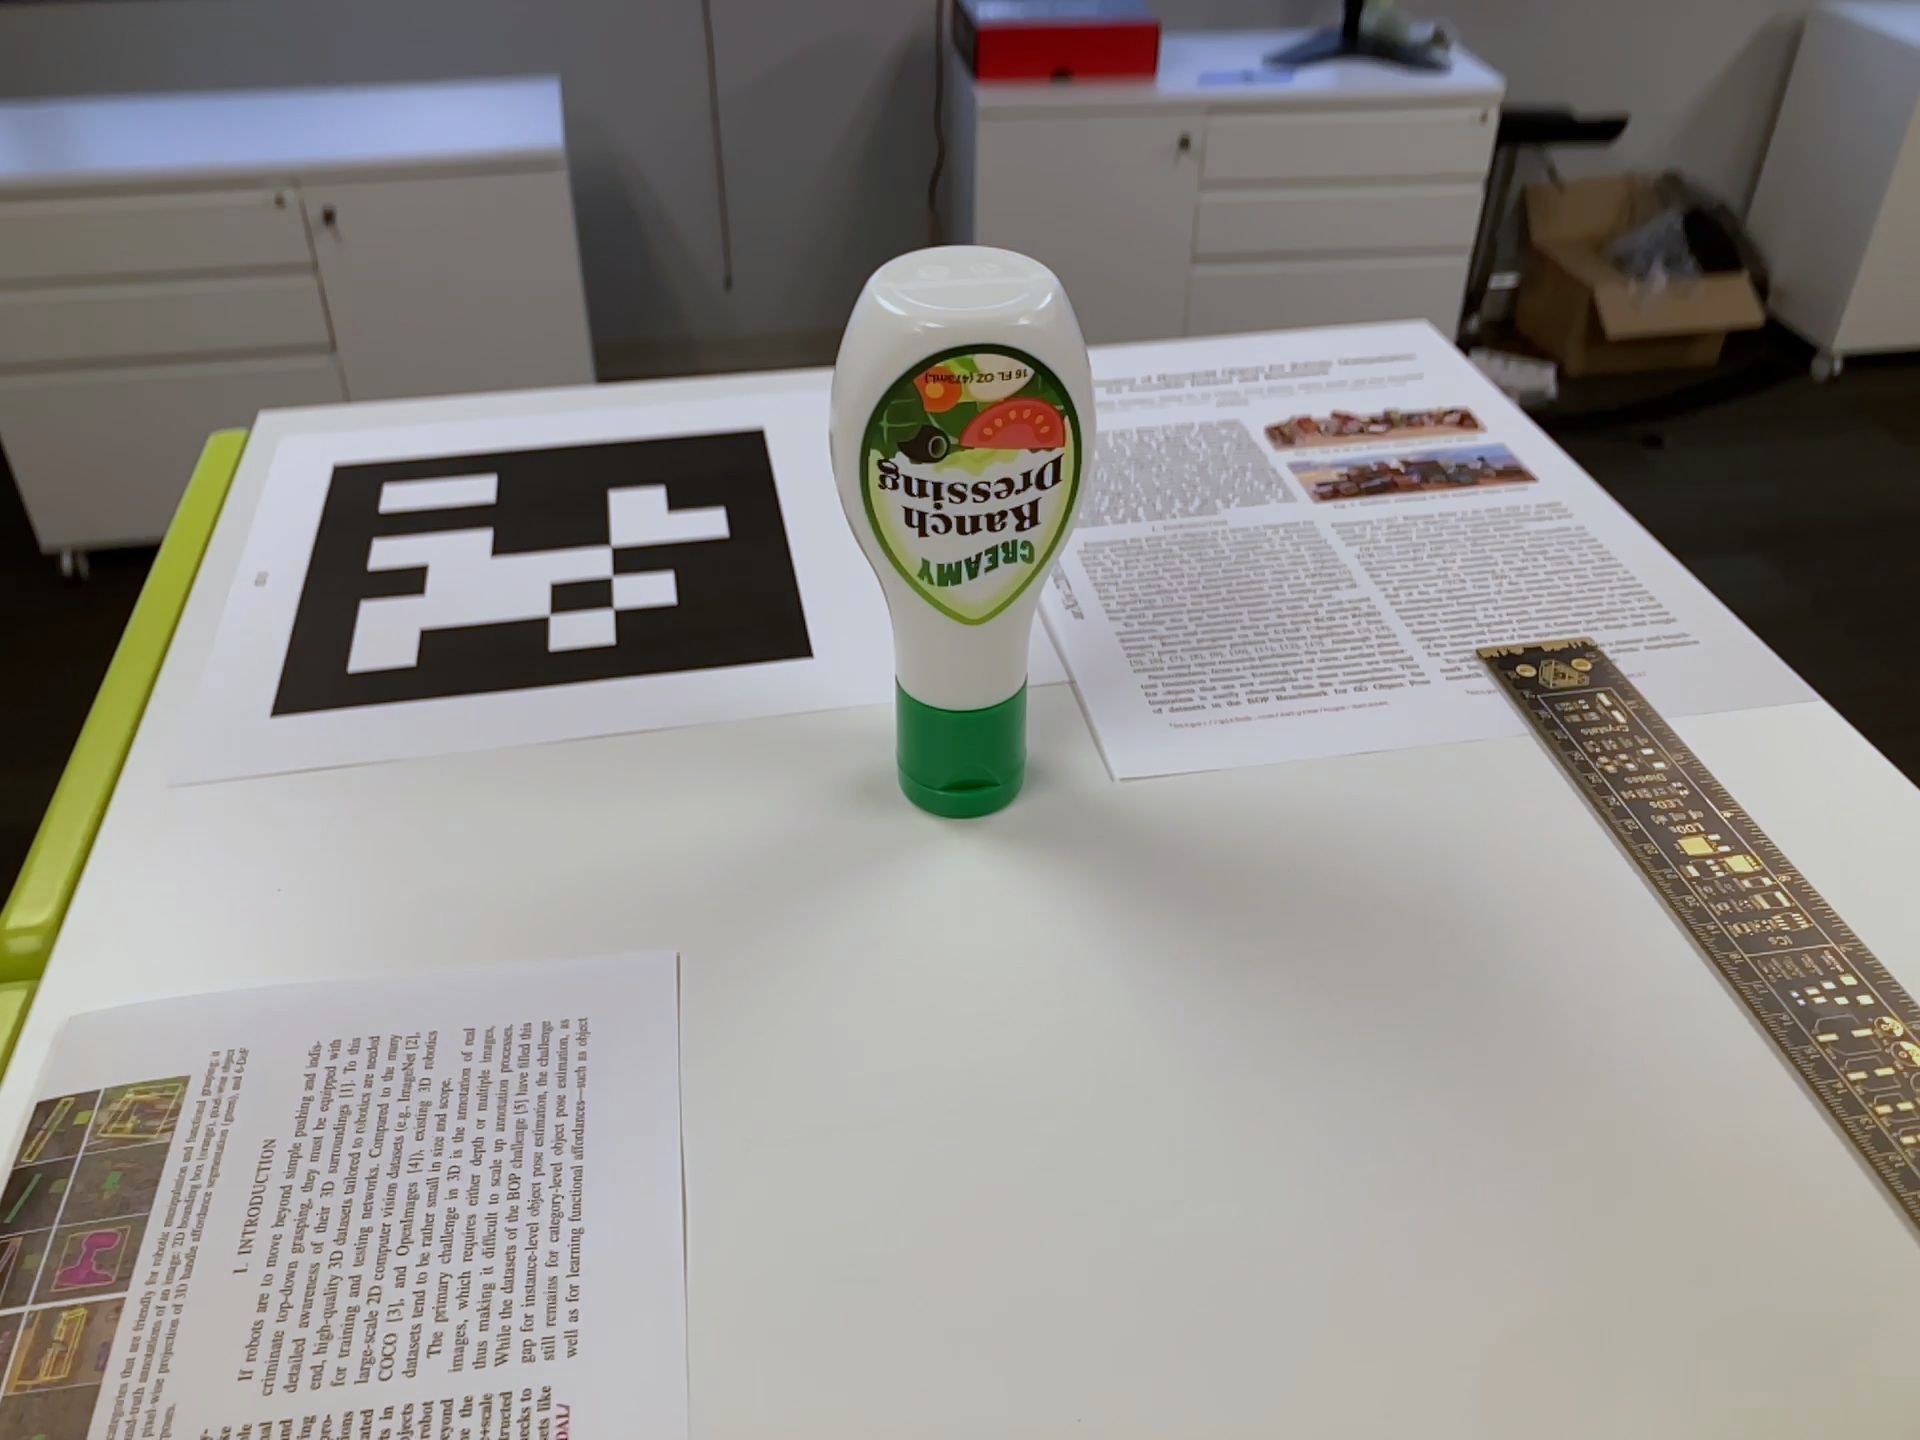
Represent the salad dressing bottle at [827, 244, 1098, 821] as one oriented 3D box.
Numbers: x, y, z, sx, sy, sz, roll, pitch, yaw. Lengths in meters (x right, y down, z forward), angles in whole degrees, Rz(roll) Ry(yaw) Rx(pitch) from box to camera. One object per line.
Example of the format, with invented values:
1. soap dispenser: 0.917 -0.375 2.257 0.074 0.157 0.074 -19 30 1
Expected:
1. salad dressing bottle: 0.000 -0.041 0.401 0.064 0.147 0.044 -5 38 -7
